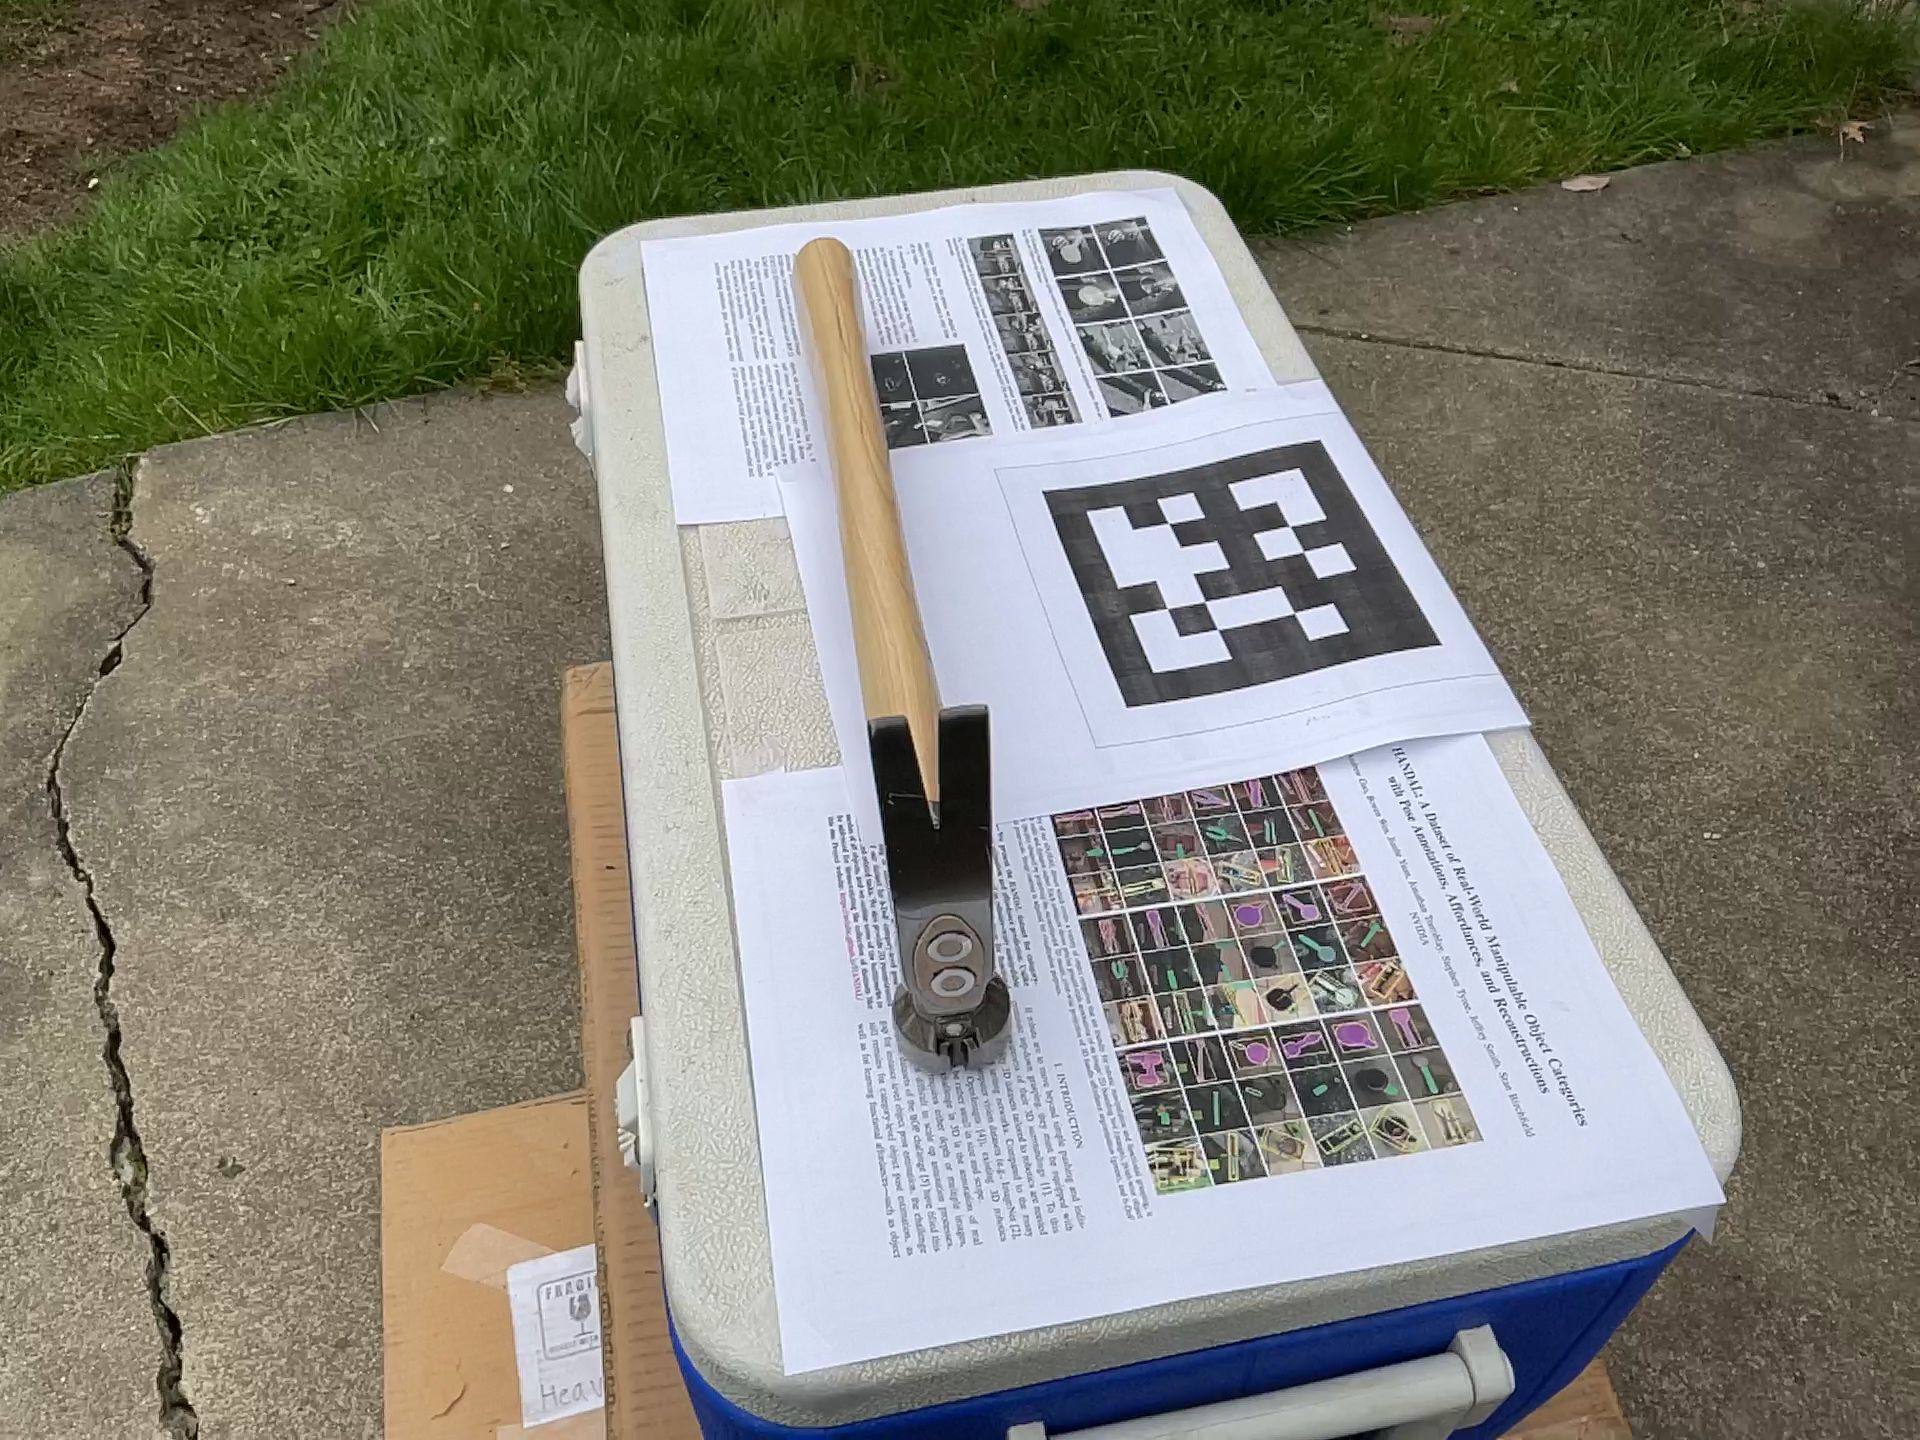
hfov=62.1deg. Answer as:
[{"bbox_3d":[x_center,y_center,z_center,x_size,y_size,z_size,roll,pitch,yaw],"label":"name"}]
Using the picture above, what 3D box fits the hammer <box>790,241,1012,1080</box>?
[{"bbox_3d":[-0.034,-0.078,0.596,0.038,0.146,0.411,-8,44,-5],"label":"hammer"}]
